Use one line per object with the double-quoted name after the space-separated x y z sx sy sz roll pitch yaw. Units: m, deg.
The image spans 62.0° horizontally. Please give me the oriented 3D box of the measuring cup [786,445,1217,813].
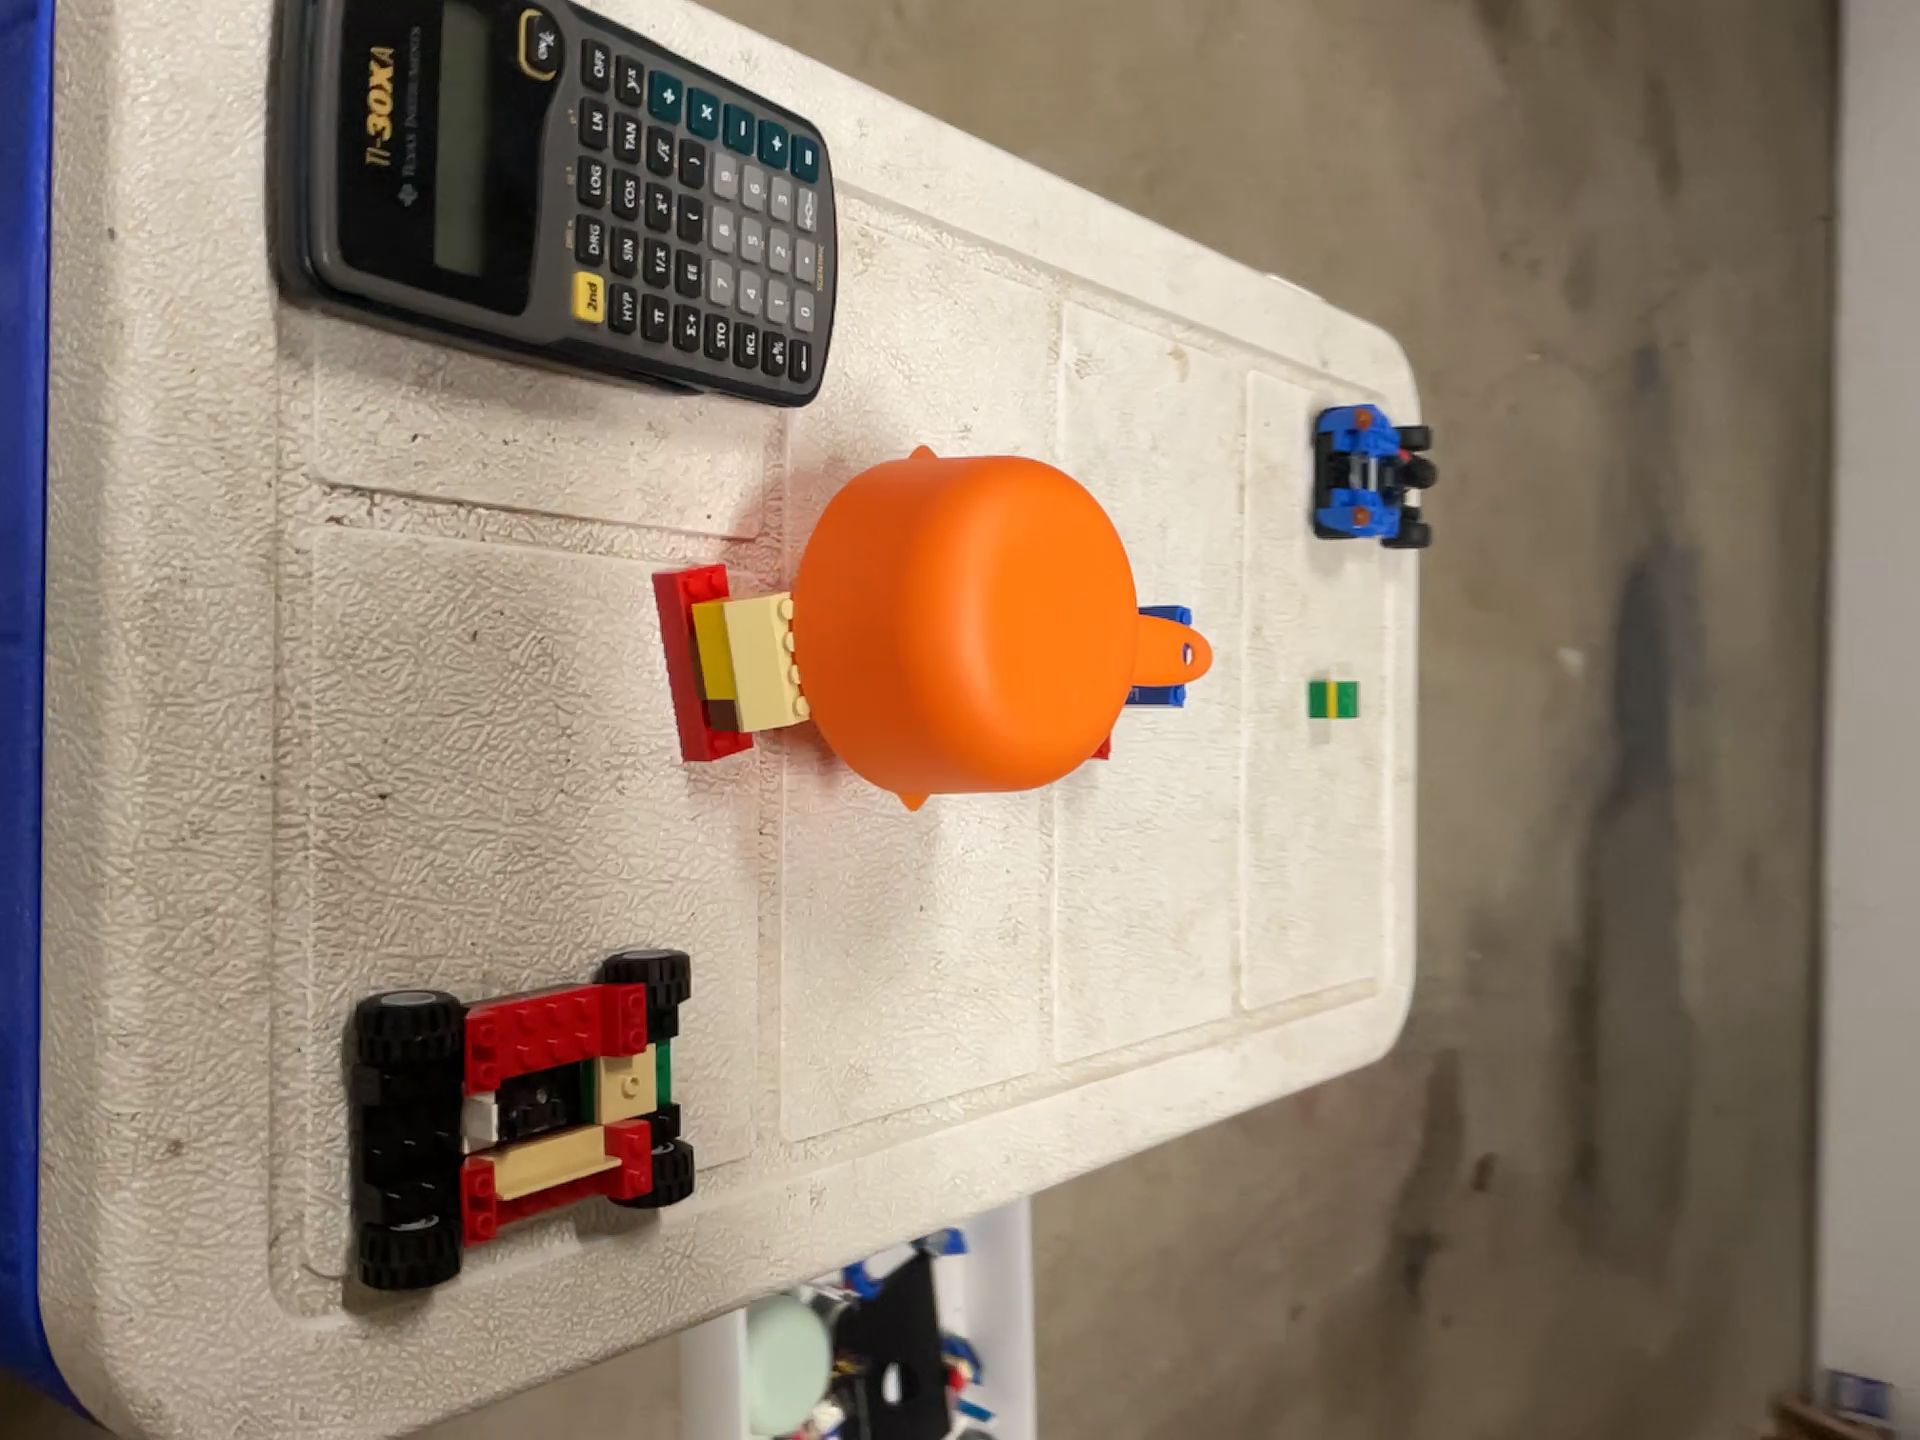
0.035 -0.022 0.429 0.173 0.052 0.095 3 88 -45 "measuring cup"
